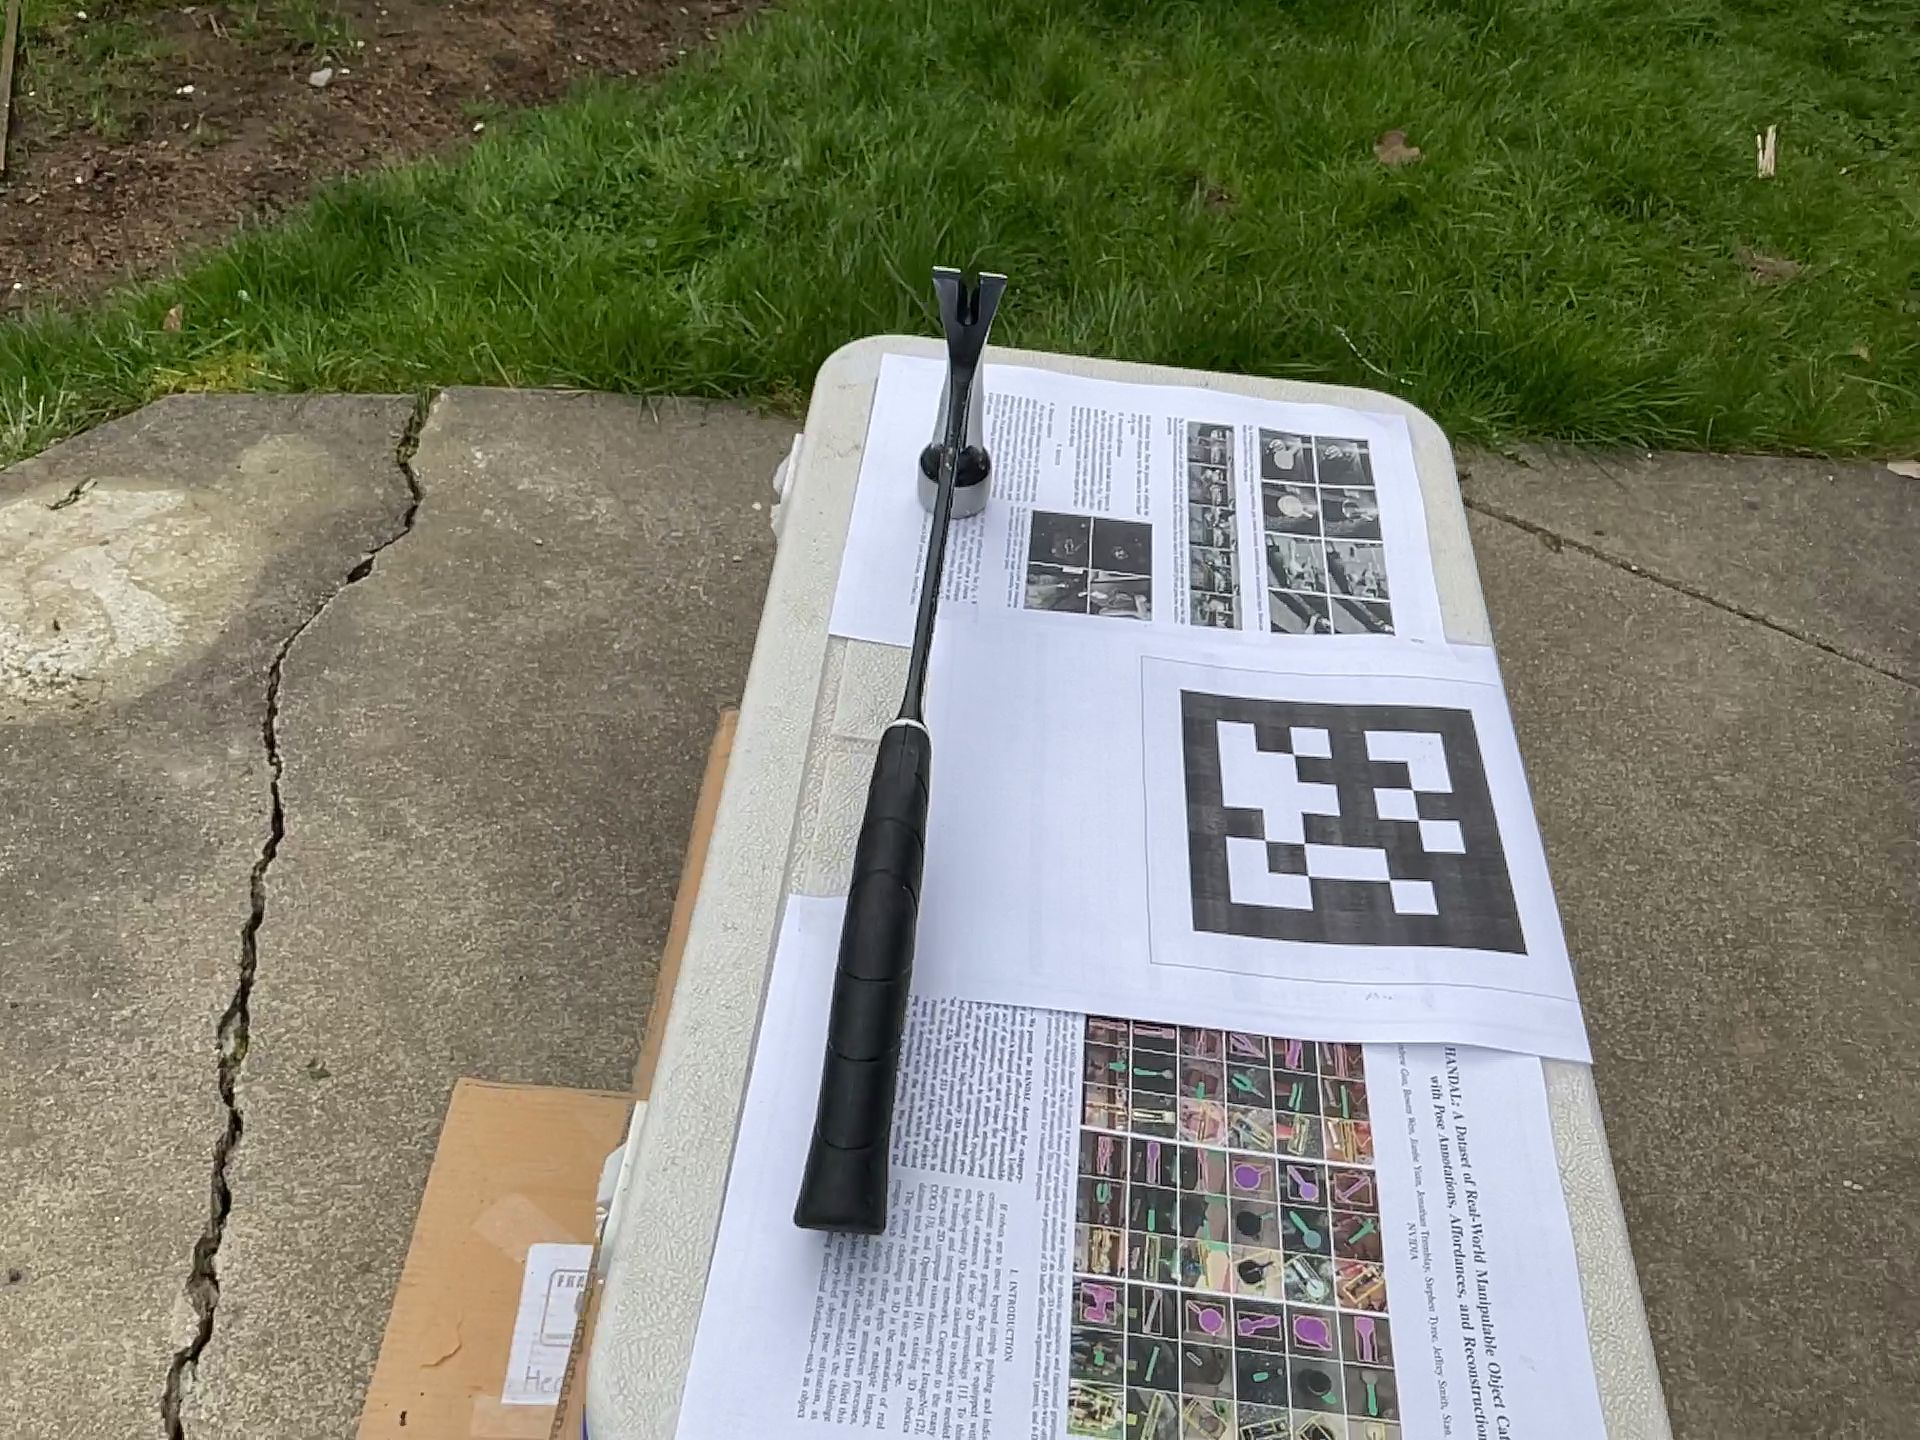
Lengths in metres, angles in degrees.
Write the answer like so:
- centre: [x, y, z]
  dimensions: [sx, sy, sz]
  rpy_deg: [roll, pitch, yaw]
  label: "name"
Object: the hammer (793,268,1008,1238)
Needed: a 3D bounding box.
- centre: [-0.017, -0.004, 0.611]
  dimensions: [0.036, 0.149, 0.409]
  rpy_deg: [7, 54, 0]
  label: "hammer"
